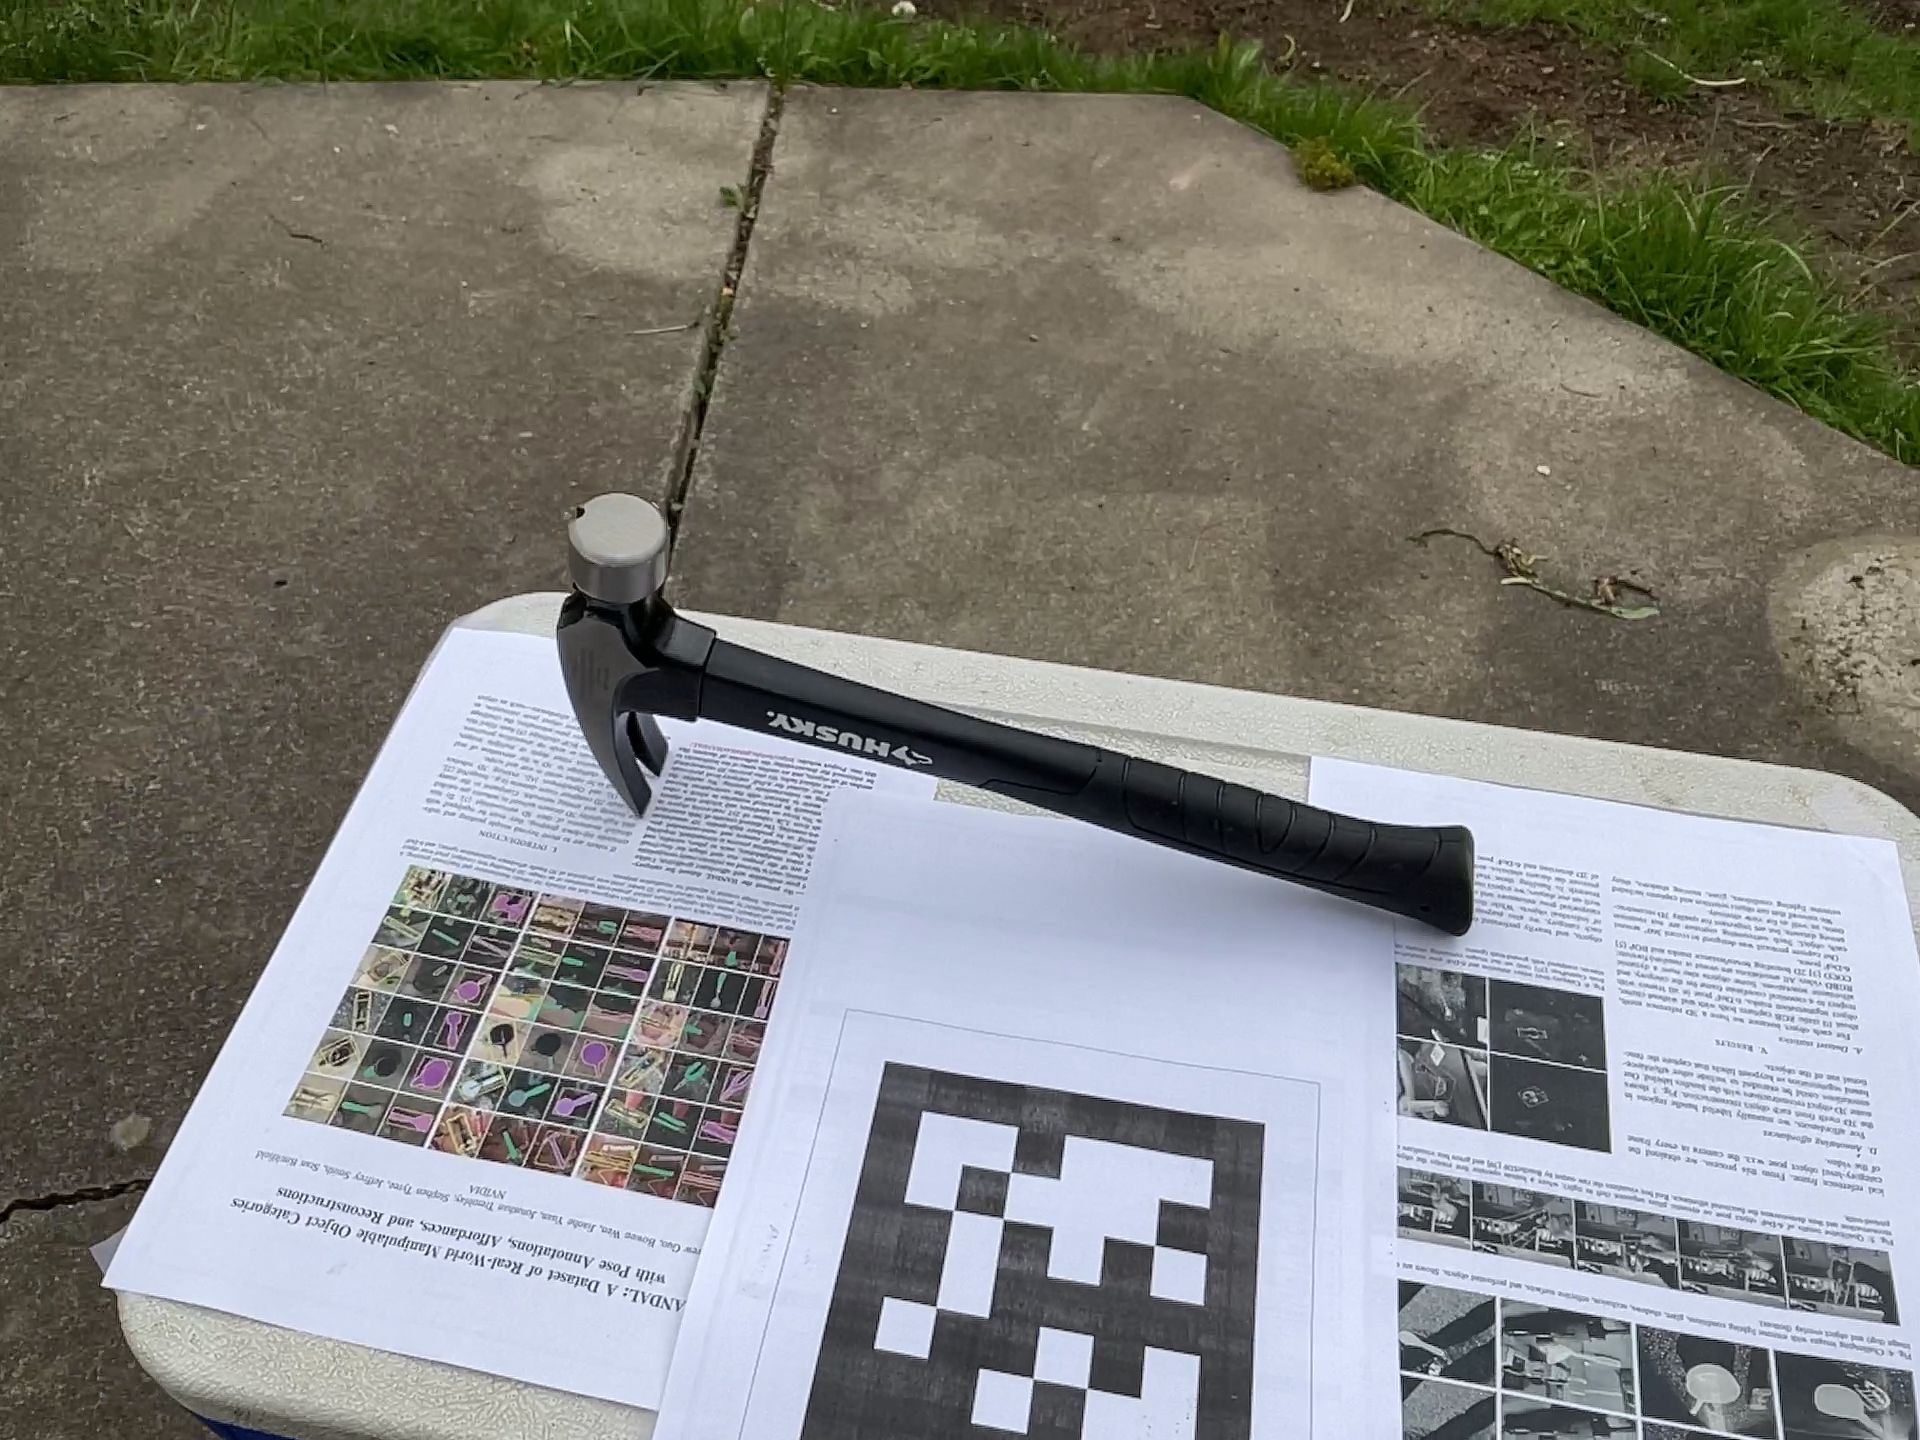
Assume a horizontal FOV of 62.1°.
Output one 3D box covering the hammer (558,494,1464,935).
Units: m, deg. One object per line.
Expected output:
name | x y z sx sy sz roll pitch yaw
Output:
hammer | 0.022 0.020 0.575 0.335 0.146 0.035 16 54 -2
